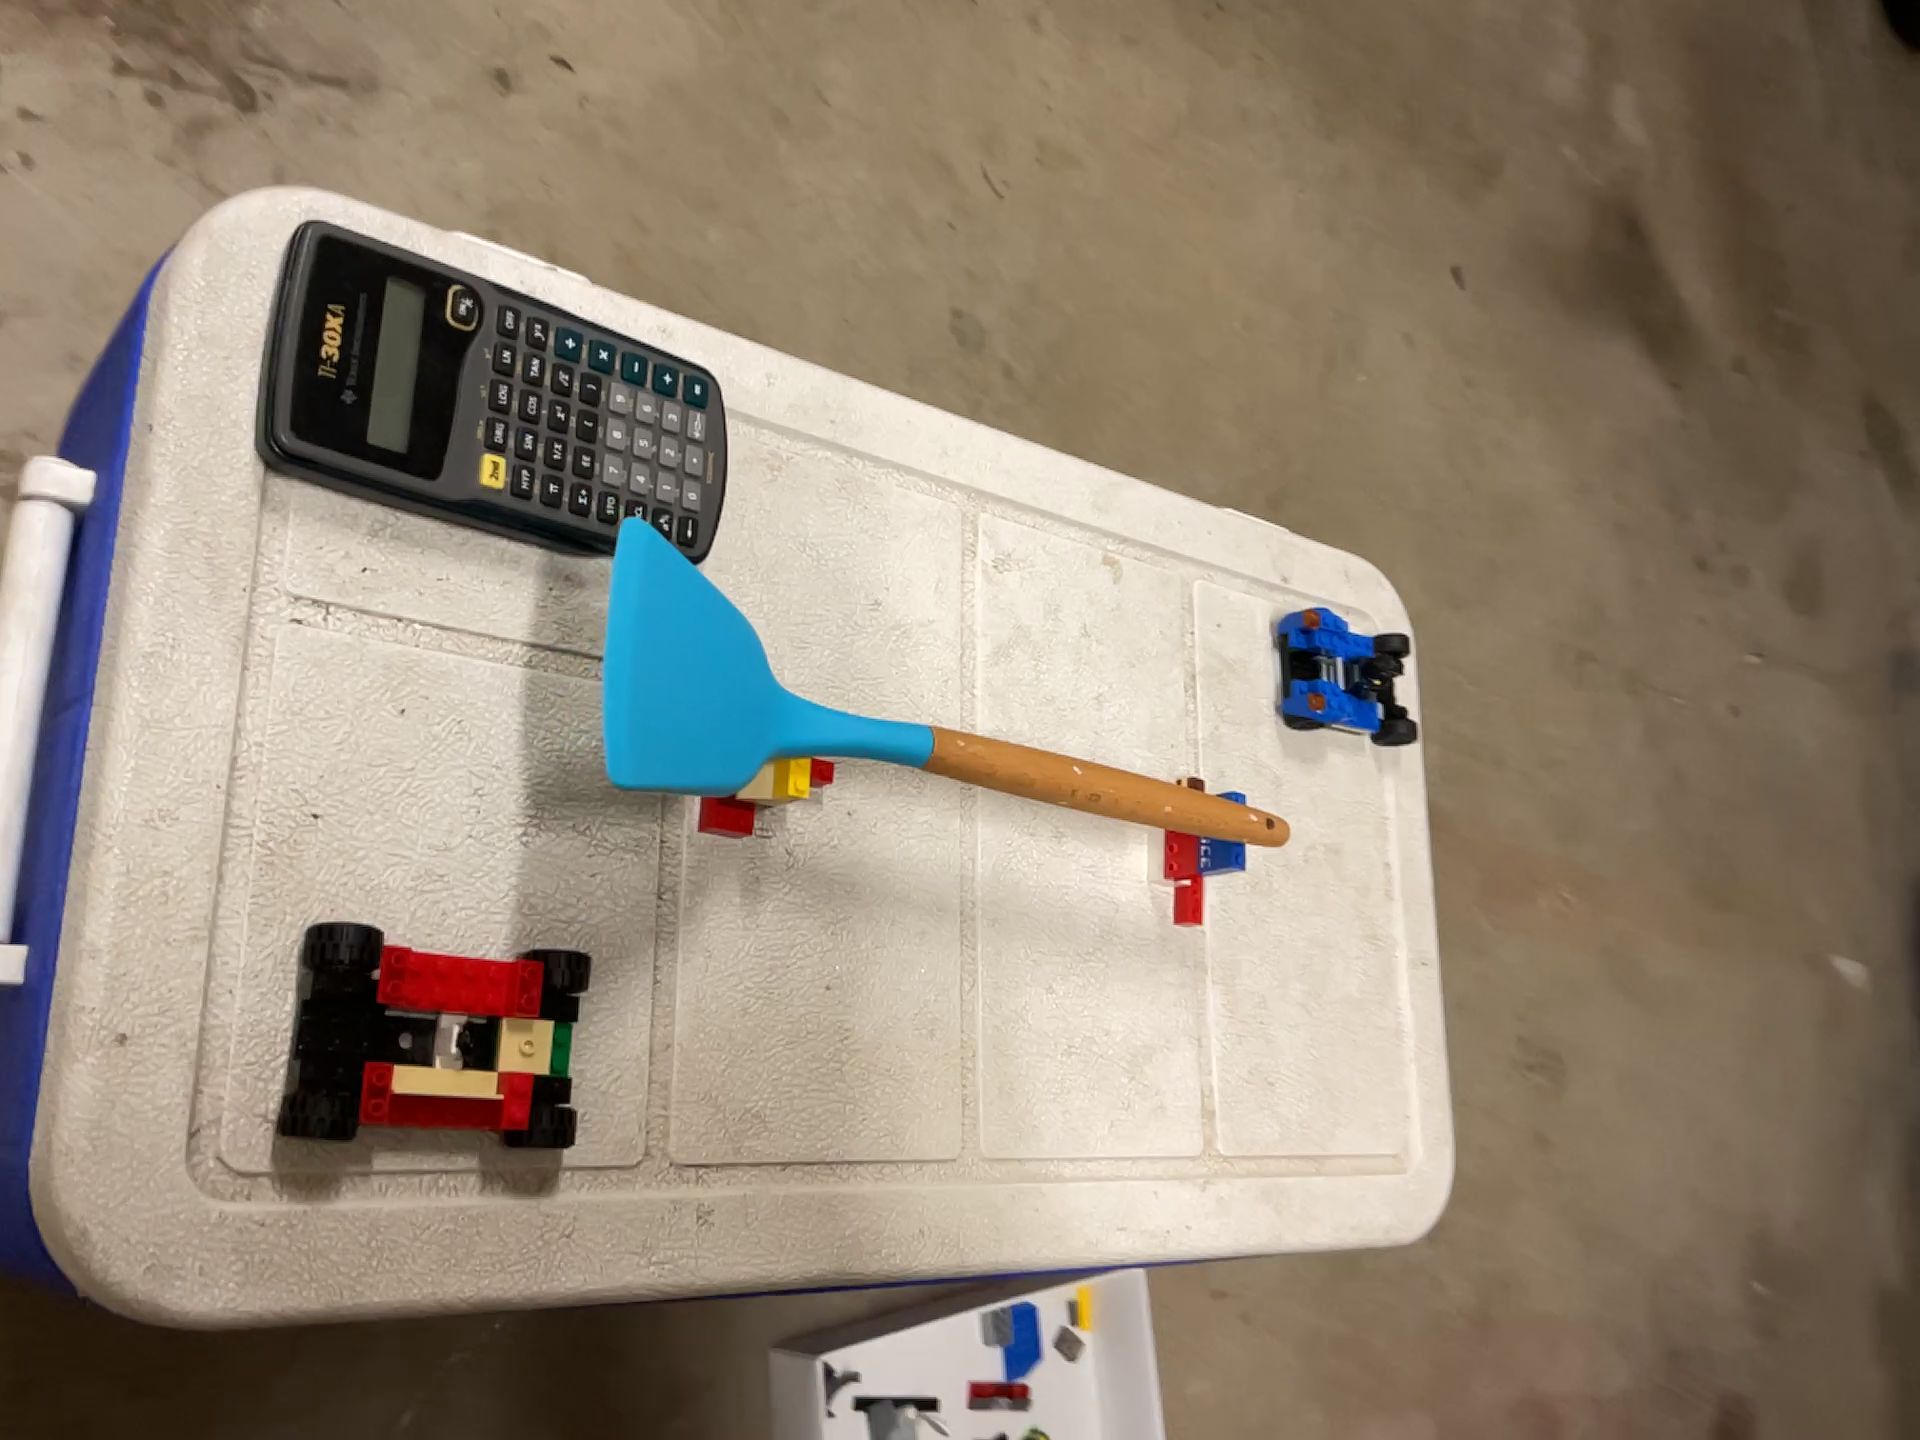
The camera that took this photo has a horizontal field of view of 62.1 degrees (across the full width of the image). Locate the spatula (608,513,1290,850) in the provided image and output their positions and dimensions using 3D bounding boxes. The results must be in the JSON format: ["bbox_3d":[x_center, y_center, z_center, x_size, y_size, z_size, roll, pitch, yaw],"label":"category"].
[{"bbox_3d":[0.014,0.014,0.547,0.317,0.044,0.082,14,67,-37],"label":"spatula"}]
